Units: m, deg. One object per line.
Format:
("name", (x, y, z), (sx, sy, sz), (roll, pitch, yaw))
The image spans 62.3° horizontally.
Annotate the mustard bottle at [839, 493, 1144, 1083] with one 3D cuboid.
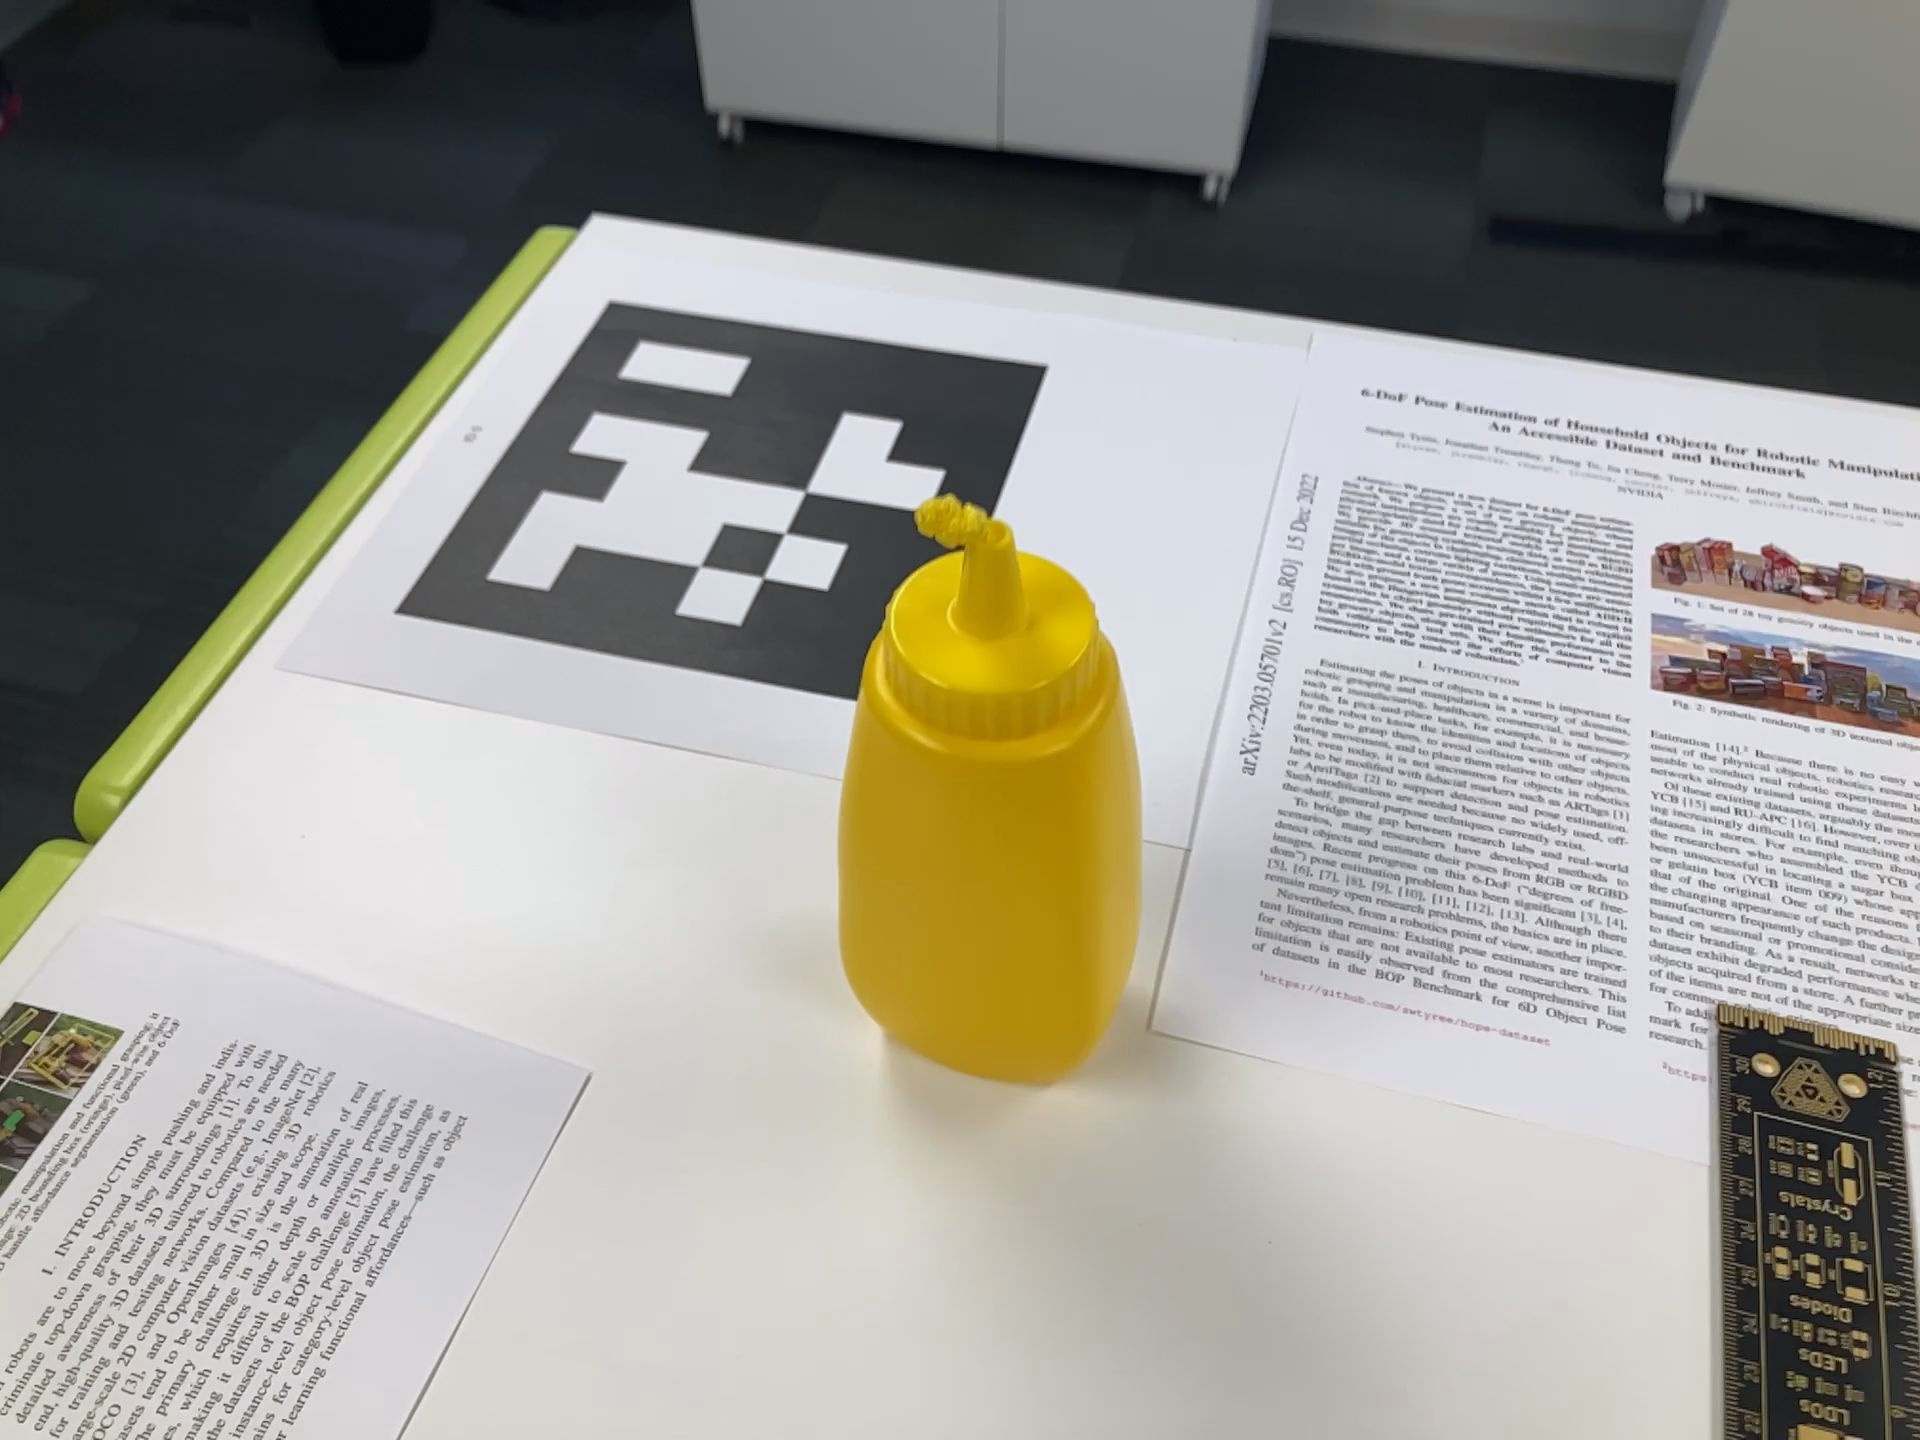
("mustard bottle", (0.007, 0.015, 0.321), (0.065, 0.160, 0.049), (15, 50, 13))
